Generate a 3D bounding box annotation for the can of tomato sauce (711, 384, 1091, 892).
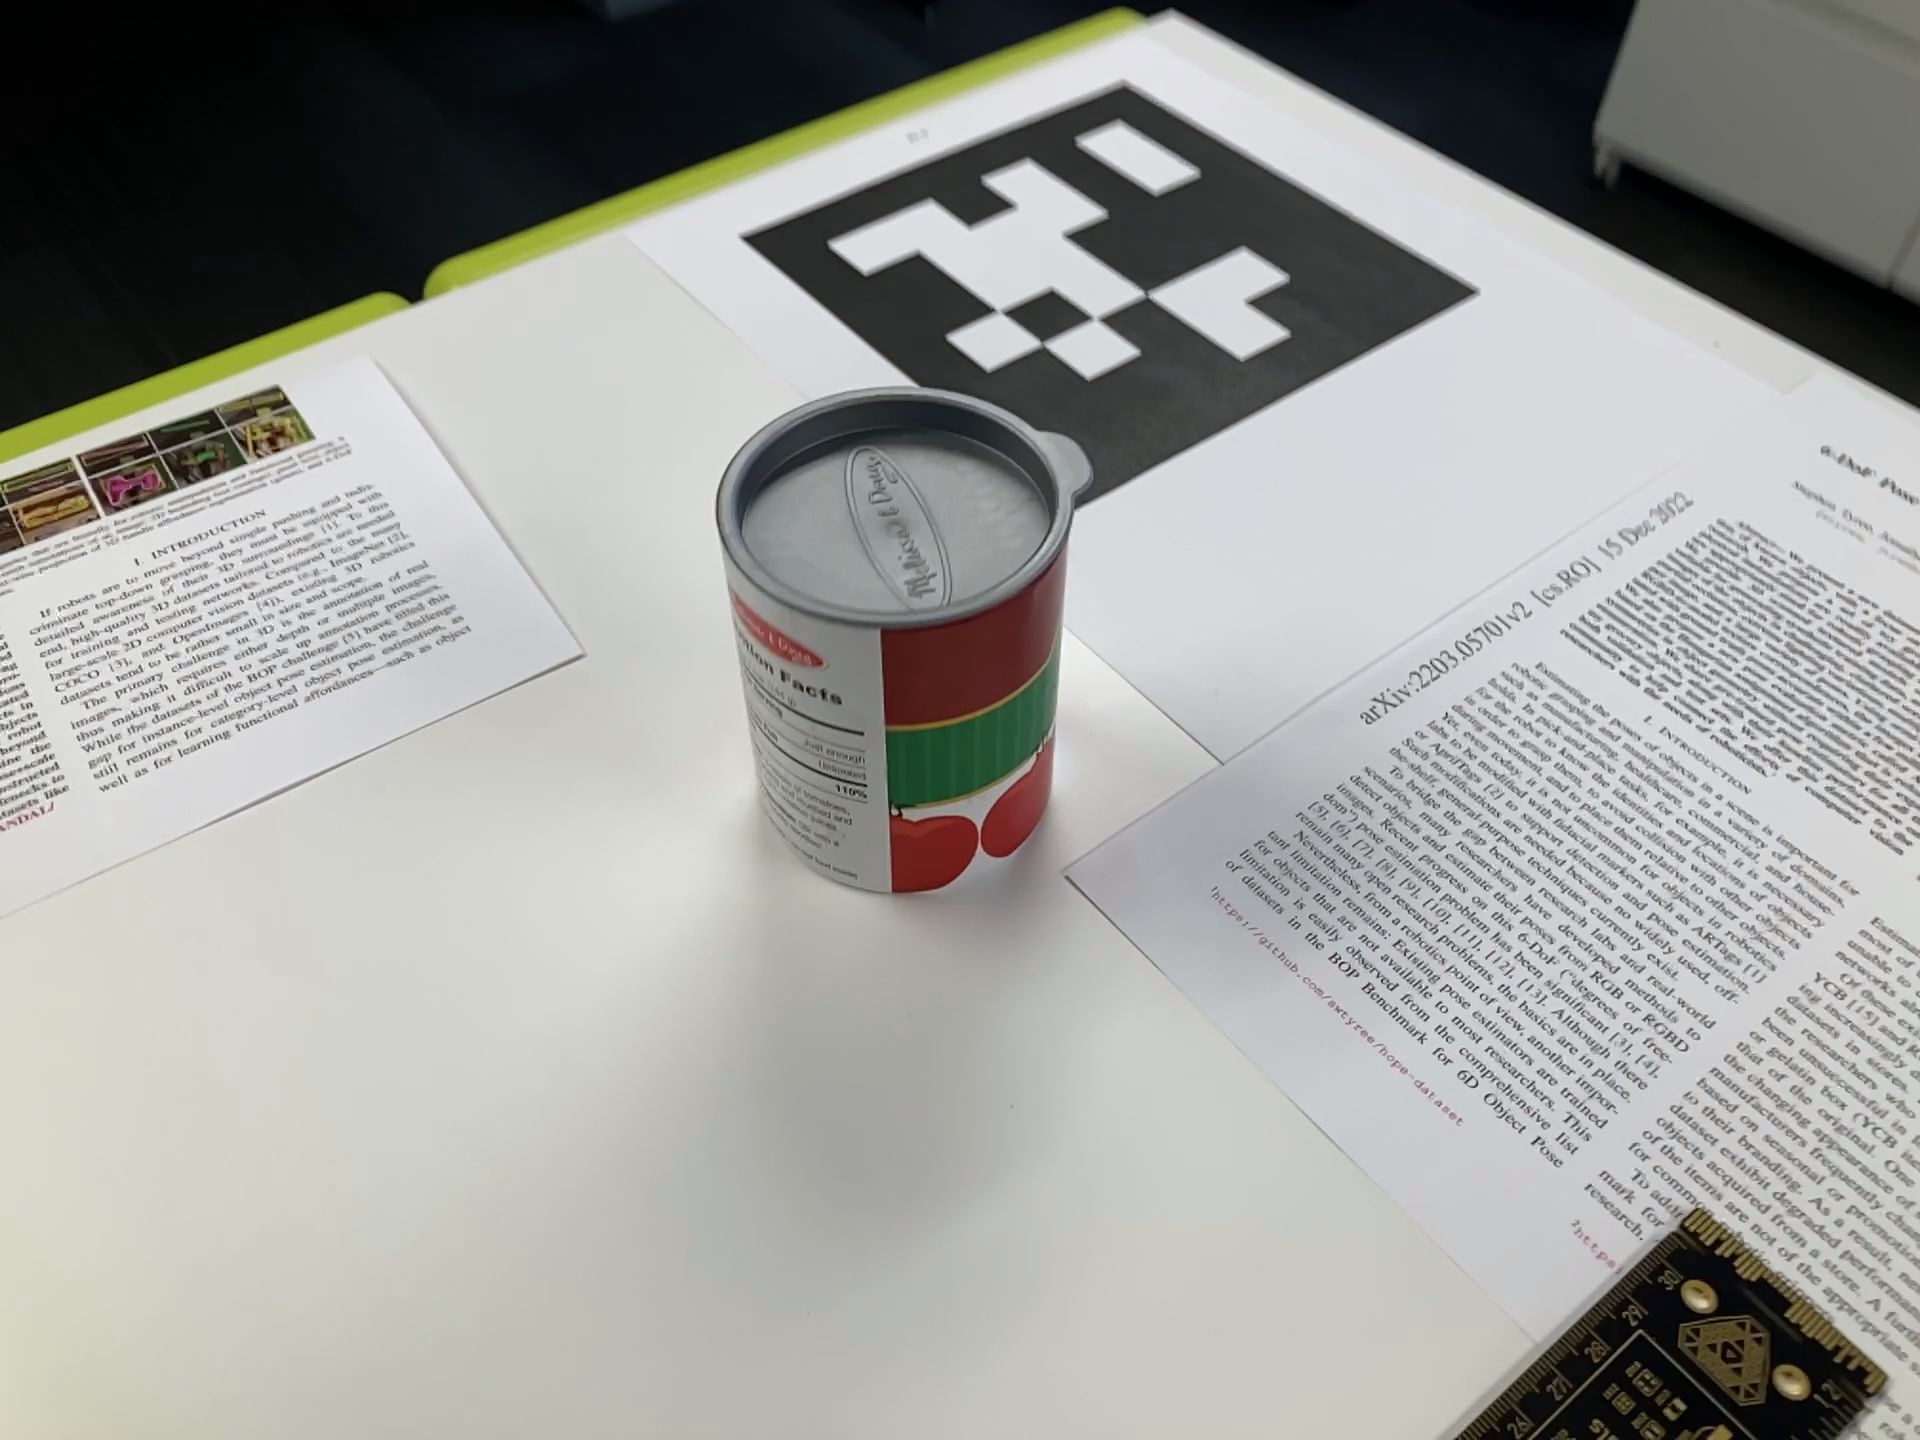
[{"bbox_3d":[-0.011,-0.016,0.324,0.071,0.083,0.071,0,49,0],"label":"can of tomato sauce"}]
